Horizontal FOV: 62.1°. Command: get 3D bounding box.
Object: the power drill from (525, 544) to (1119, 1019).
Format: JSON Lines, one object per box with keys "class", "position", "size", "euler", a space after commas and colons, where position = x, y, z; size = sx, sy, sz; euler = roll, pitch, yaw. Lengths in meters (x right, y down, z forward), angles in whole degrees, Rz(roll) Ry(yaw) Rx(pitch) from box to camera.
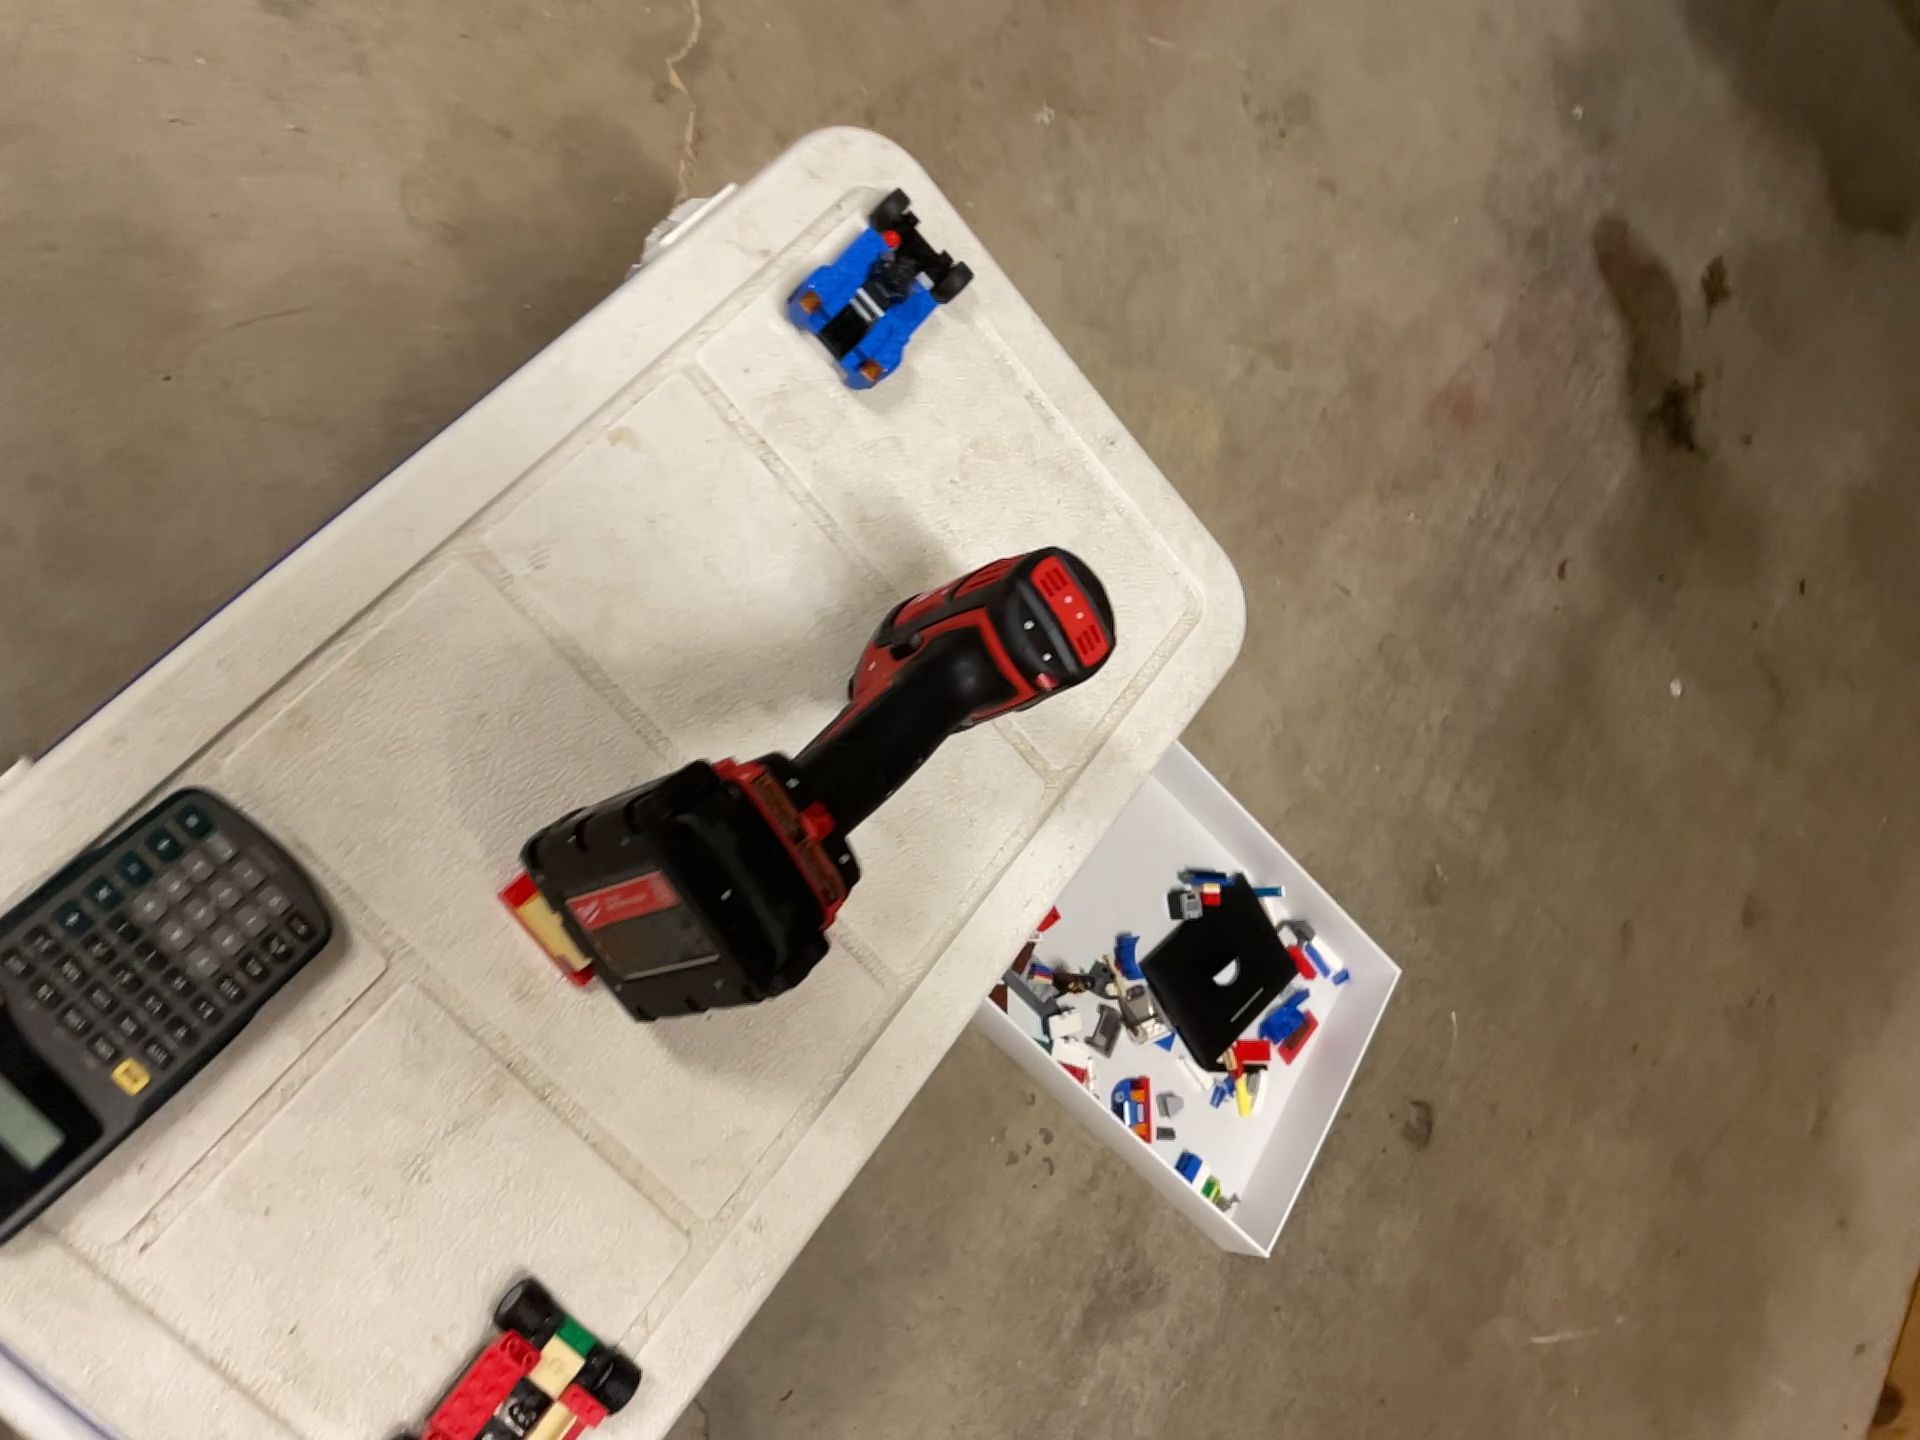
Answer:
{"class": "power drill", "position": [-0.047, 0.014, 0.610], "size": [0.220, 0.143, 0.078], "euler": [-41, 104, -38]}
